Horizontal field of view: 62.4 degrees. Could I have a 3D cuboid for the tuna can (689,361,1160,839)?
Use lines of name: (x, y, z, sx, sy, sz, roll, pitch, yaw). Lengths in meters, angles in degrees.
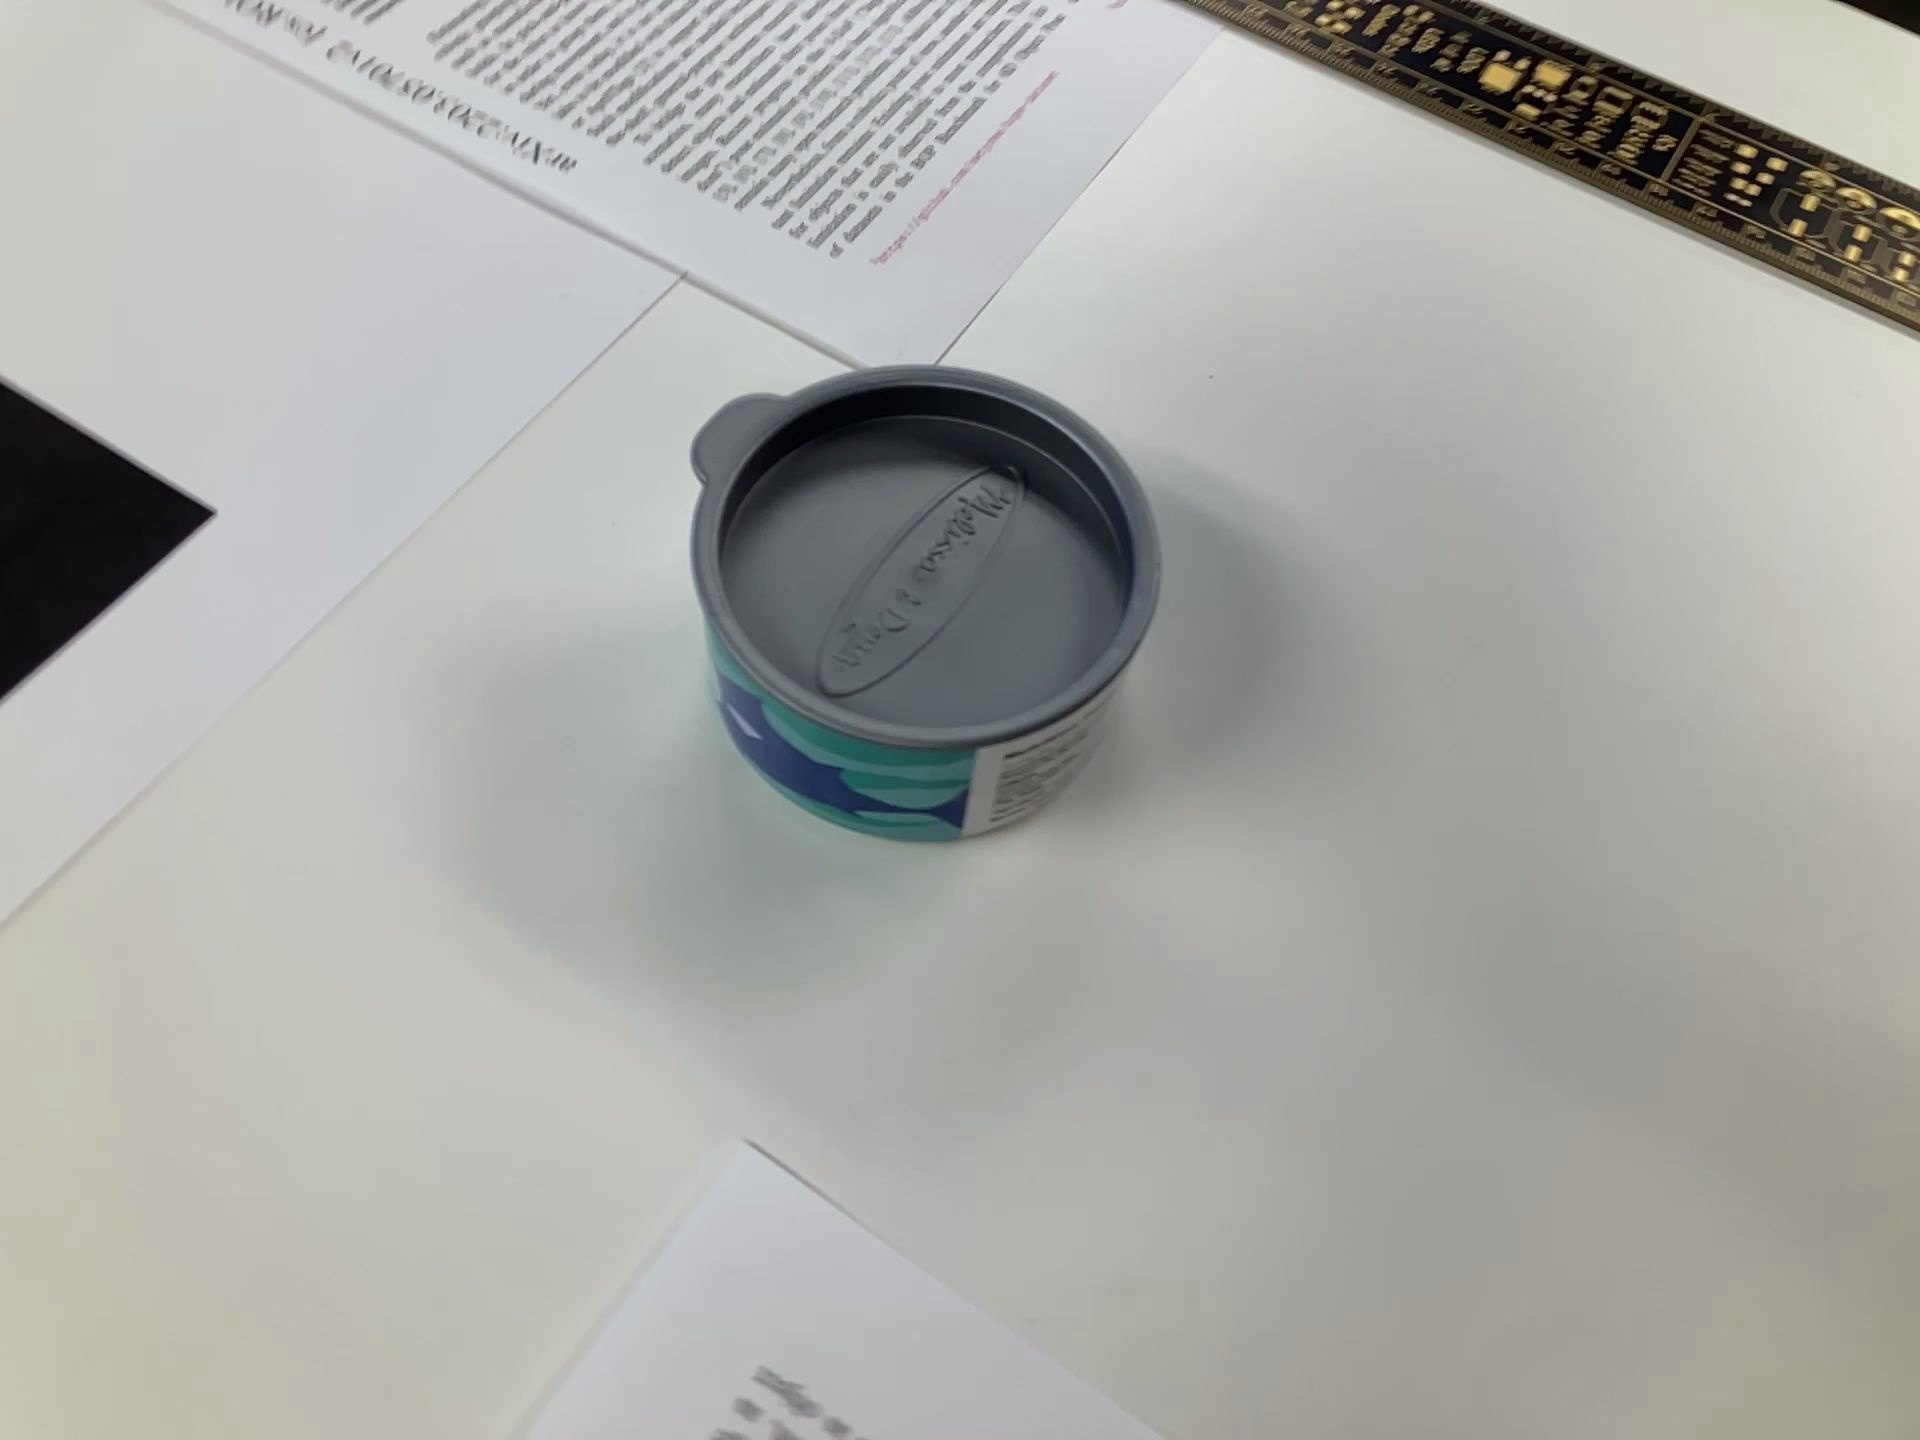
tuna can: (-0.008, -0.019, 0.236, 0.071, 0.033, 0.071, 2, 60, -3)
